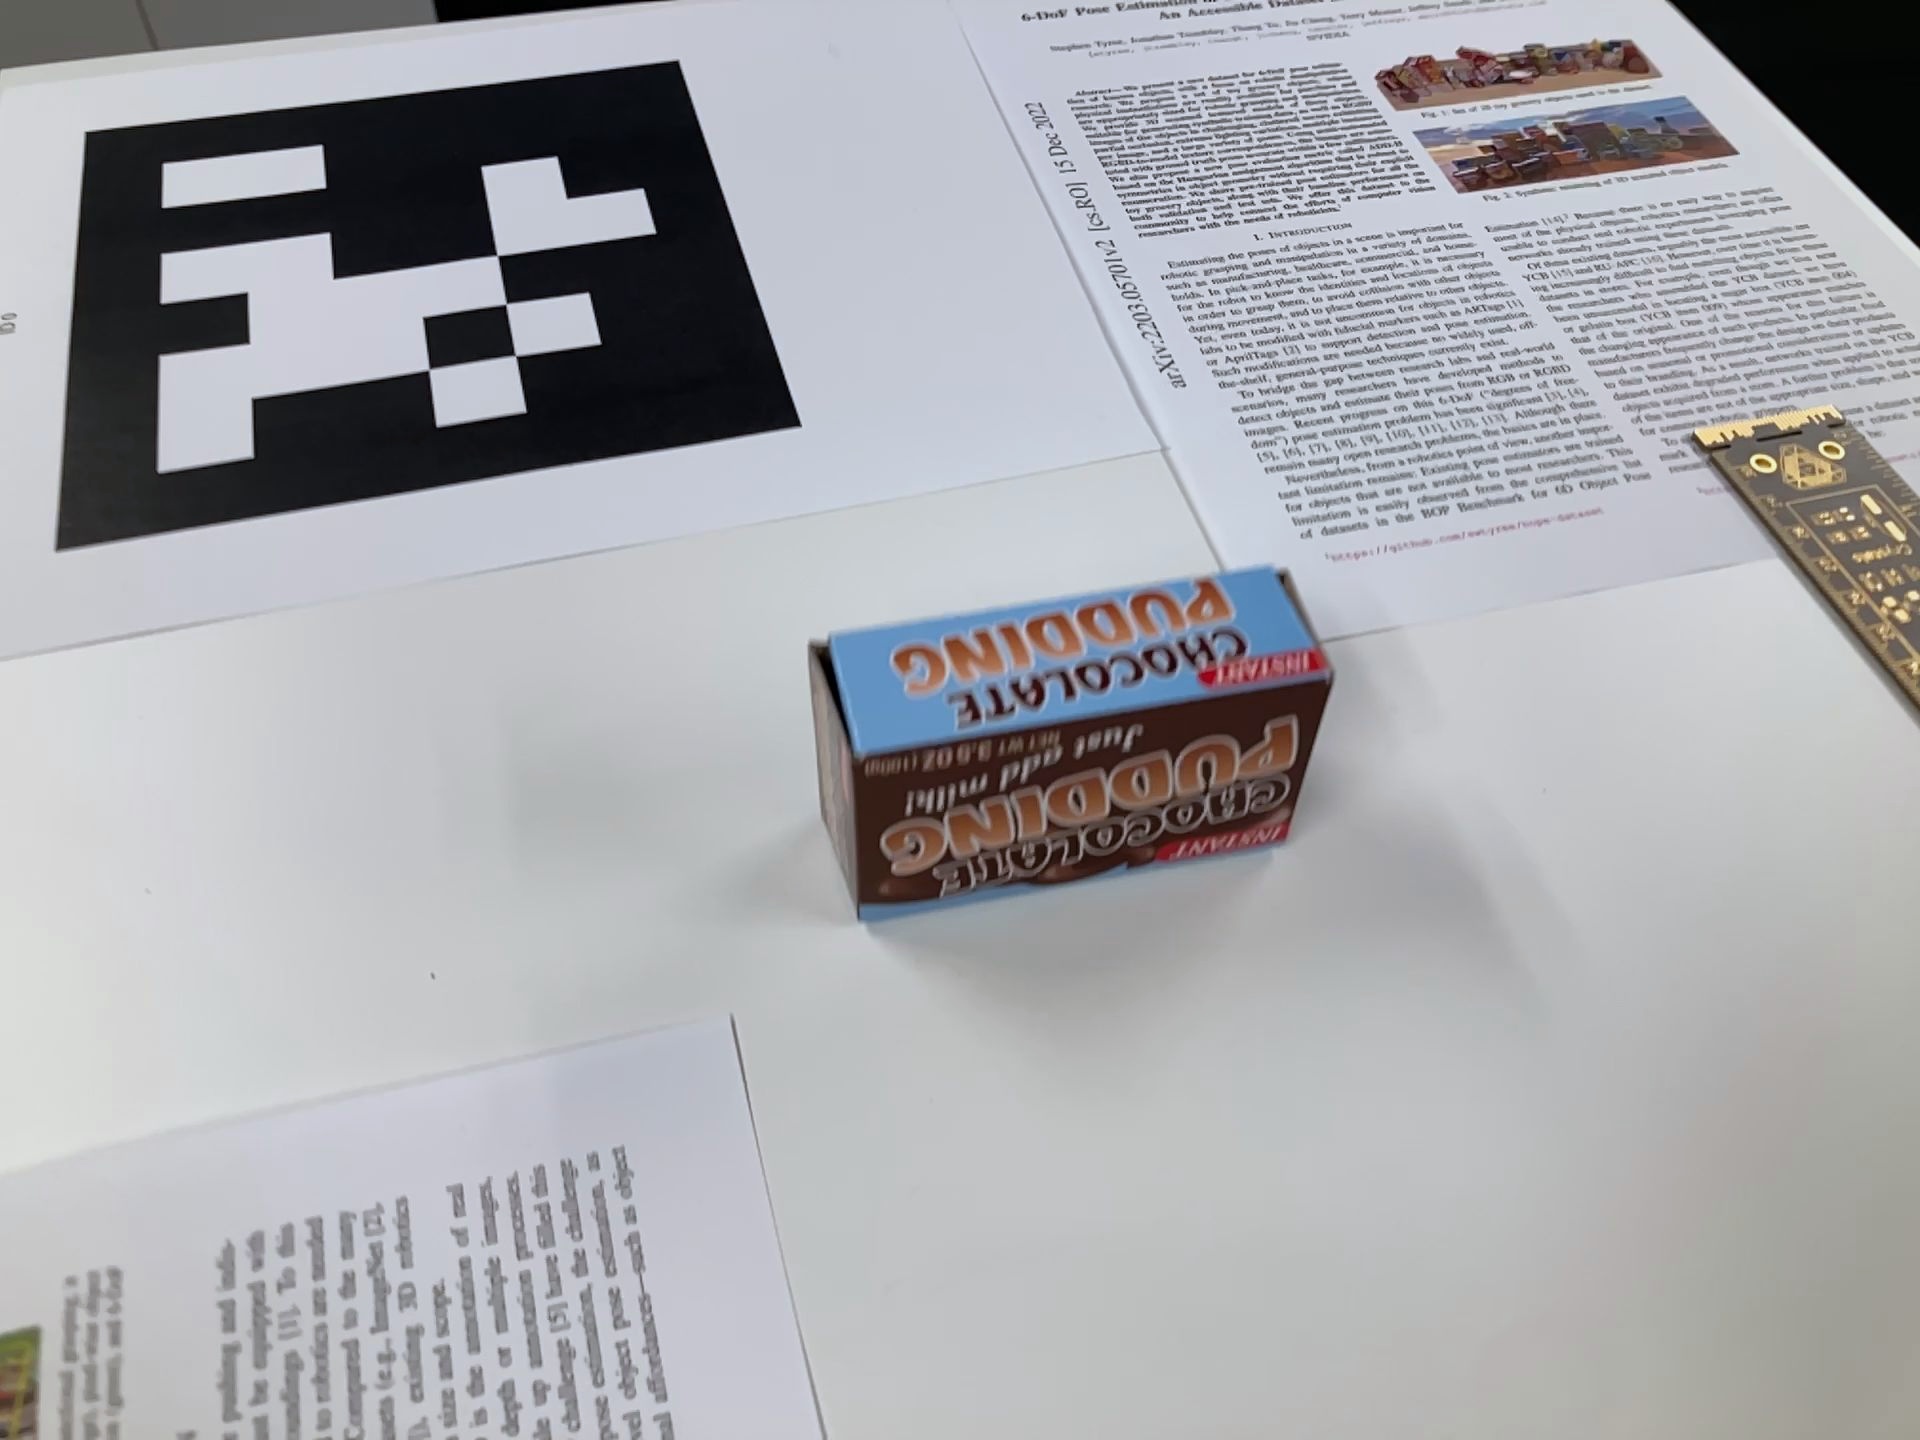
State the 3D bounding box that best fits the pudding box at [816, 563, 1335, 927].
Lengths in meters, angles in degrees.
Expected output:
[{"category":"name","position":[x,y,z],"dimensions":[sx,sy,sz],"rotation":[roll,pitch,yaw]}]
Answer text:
[{"category":"pudding box","position":[0.019,0.005,0.282],"dimensions":[0.083,0.049,0.030],"rotation":[-10,51,-10]}]
